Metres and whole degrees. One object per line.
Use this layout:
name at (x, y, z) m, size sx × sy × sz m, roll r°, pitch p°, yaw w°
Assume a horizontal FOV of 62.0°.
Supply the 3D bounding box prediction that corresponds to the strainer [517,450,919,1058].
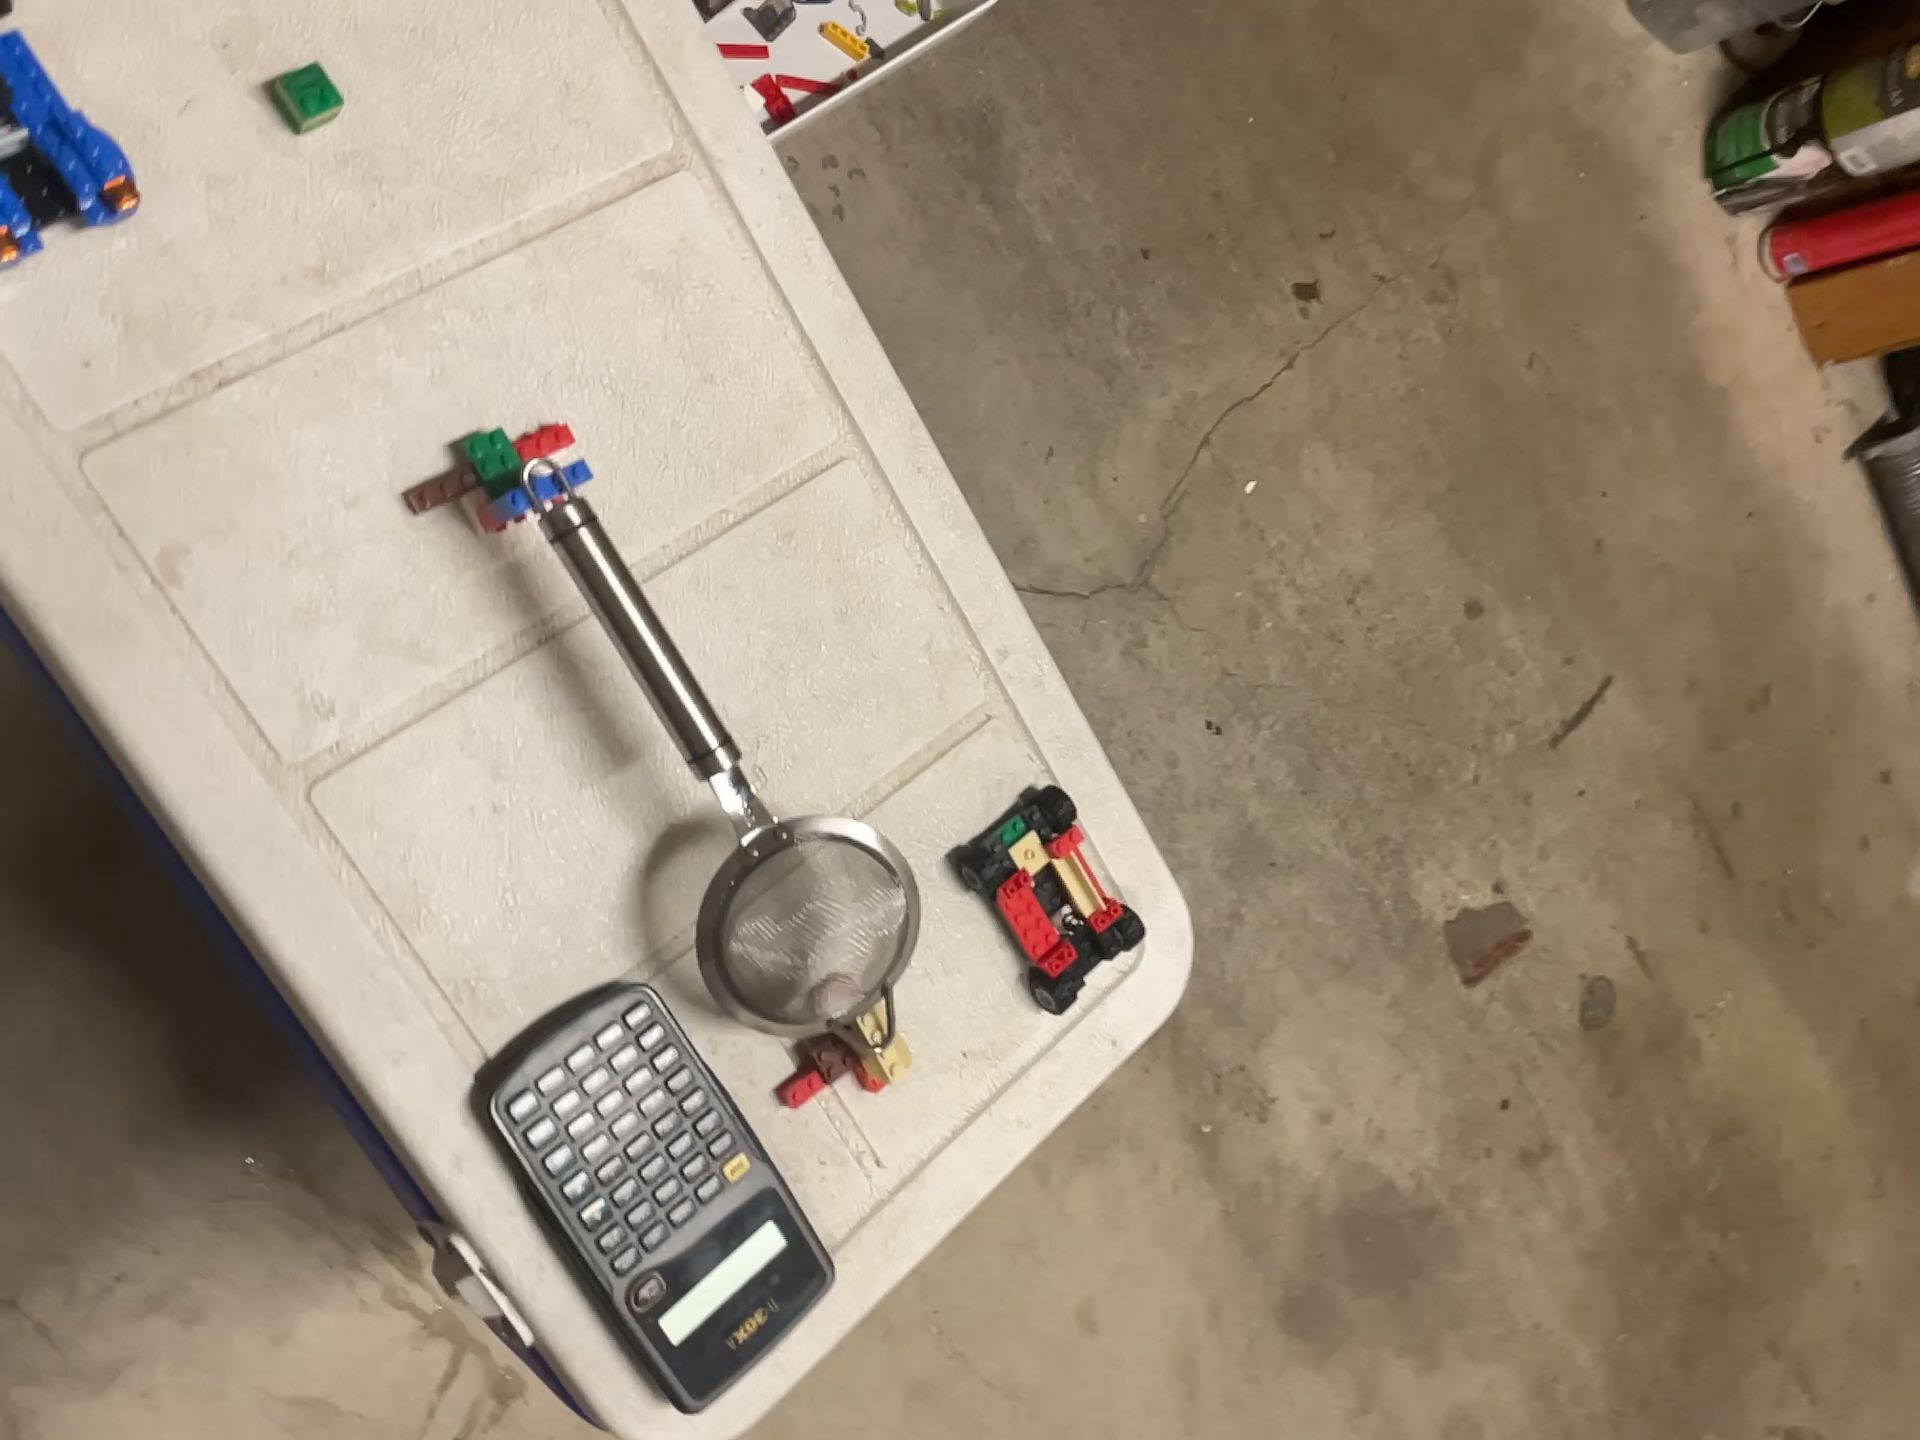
strainer at (-0.086, 0.020, 0.569) m, size 0.087 × 0.050 × 0.258 m, roll -32°, pitch 101°, yaw -13°
